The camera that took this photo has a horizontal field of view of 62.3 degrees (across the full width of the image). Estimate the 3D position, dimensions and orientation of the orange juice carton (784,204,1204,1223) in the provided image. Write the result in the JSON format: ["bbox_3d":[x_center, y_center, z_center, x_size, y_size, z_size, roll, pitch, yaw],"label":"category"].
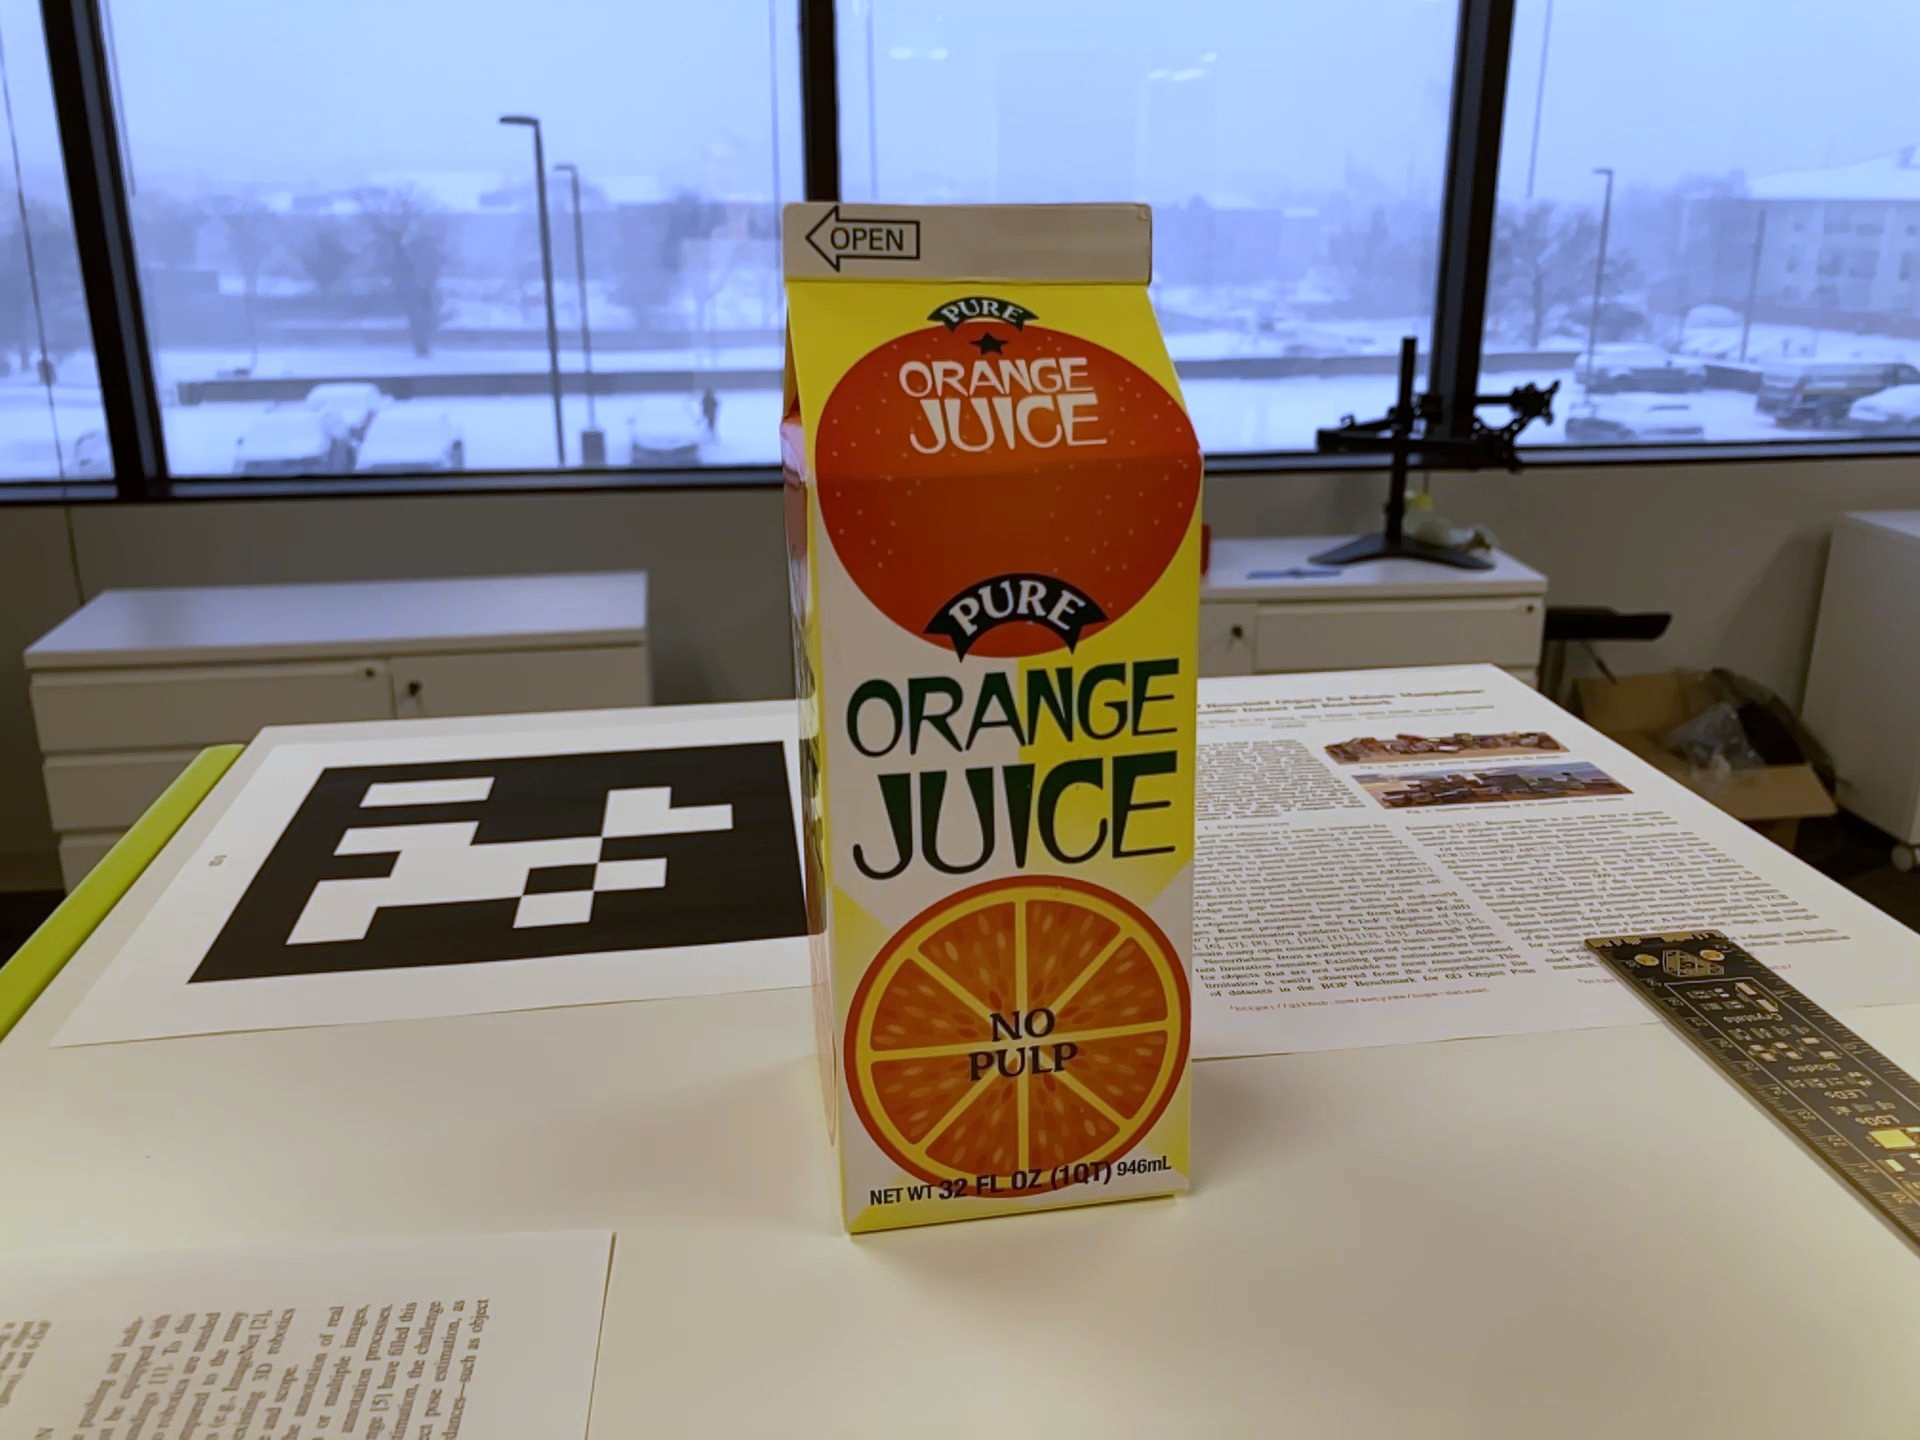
[{"bbox_3d":[0.005,-0.004,0.323,0.072,0.192,0.073,-4,17,-9],"label":"orange juice carton"}]
